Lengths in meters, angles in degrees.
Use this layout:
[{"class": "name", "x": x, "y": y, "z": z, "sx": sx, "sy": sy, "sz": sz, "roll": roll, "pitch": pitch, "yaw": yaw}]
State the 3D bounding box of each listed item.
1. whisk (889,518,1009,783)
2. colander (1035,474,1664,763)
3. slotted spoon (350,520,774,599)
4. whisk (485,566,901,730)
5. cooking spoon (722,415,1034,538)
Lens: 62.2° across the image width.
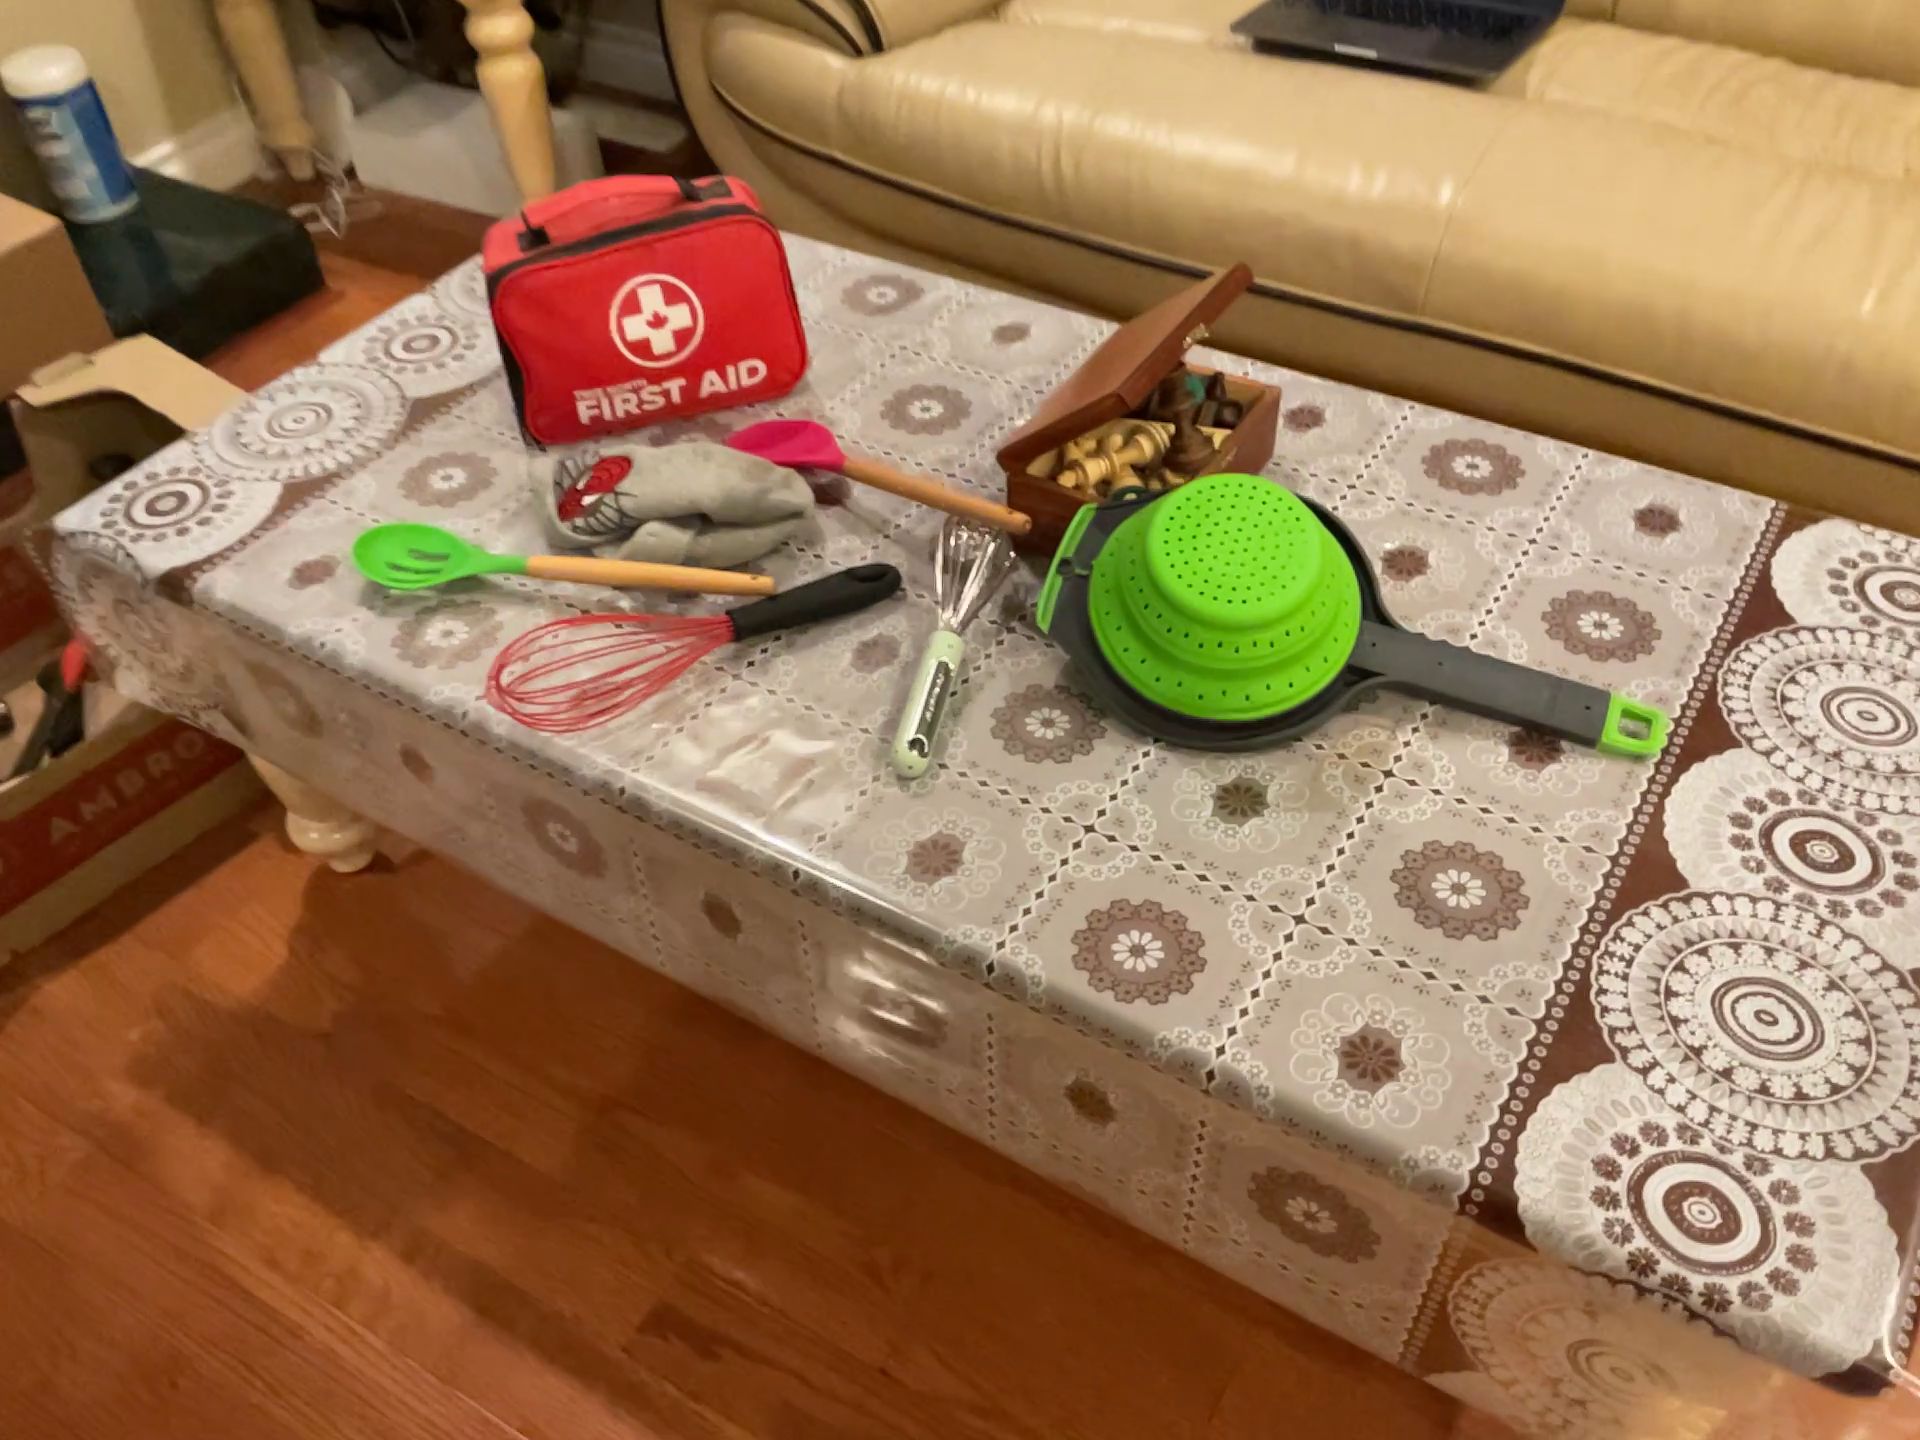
[{"class": "whisk", "x": -0.008, "y": -0.051, "z": 1.062, "sx": 0.058, "sy": 0.059, "sz": 0.247, "roll": -27, "pitch": 32, "yaw": 38}, {"class": "colander", "x": 0.245, "y": -0.062, "z": 0.989, "sx": 0.397, "sy": 0.094, "sz": 0.205, "roll": 18, "pitch": 67, "yaw": 11}, {"class": "slotted spoon", "x": -0.280, "y": -0.104, "z": 1.117, "sx": 0.314, "sy": 0.031, "sz": 0.070, "roll": 6, "pitch": 44, "yaw": 13}, {"class": "whisk", "x": -0.171, "y": -0.058, "z": 1.063, "sx": 0.296, "sy": 0.073, "sz": 0.073, "roll": -18, "pitch": 40, "yaw": -25}, {"class": "cooking spoon", "x": -0.066, "y": -0.180, "z": 1.170, "sx": 0.319, "sy": 0.017, "sz": 0.069, "roll": 25, "pitch": 51, "yaw": 39}]
